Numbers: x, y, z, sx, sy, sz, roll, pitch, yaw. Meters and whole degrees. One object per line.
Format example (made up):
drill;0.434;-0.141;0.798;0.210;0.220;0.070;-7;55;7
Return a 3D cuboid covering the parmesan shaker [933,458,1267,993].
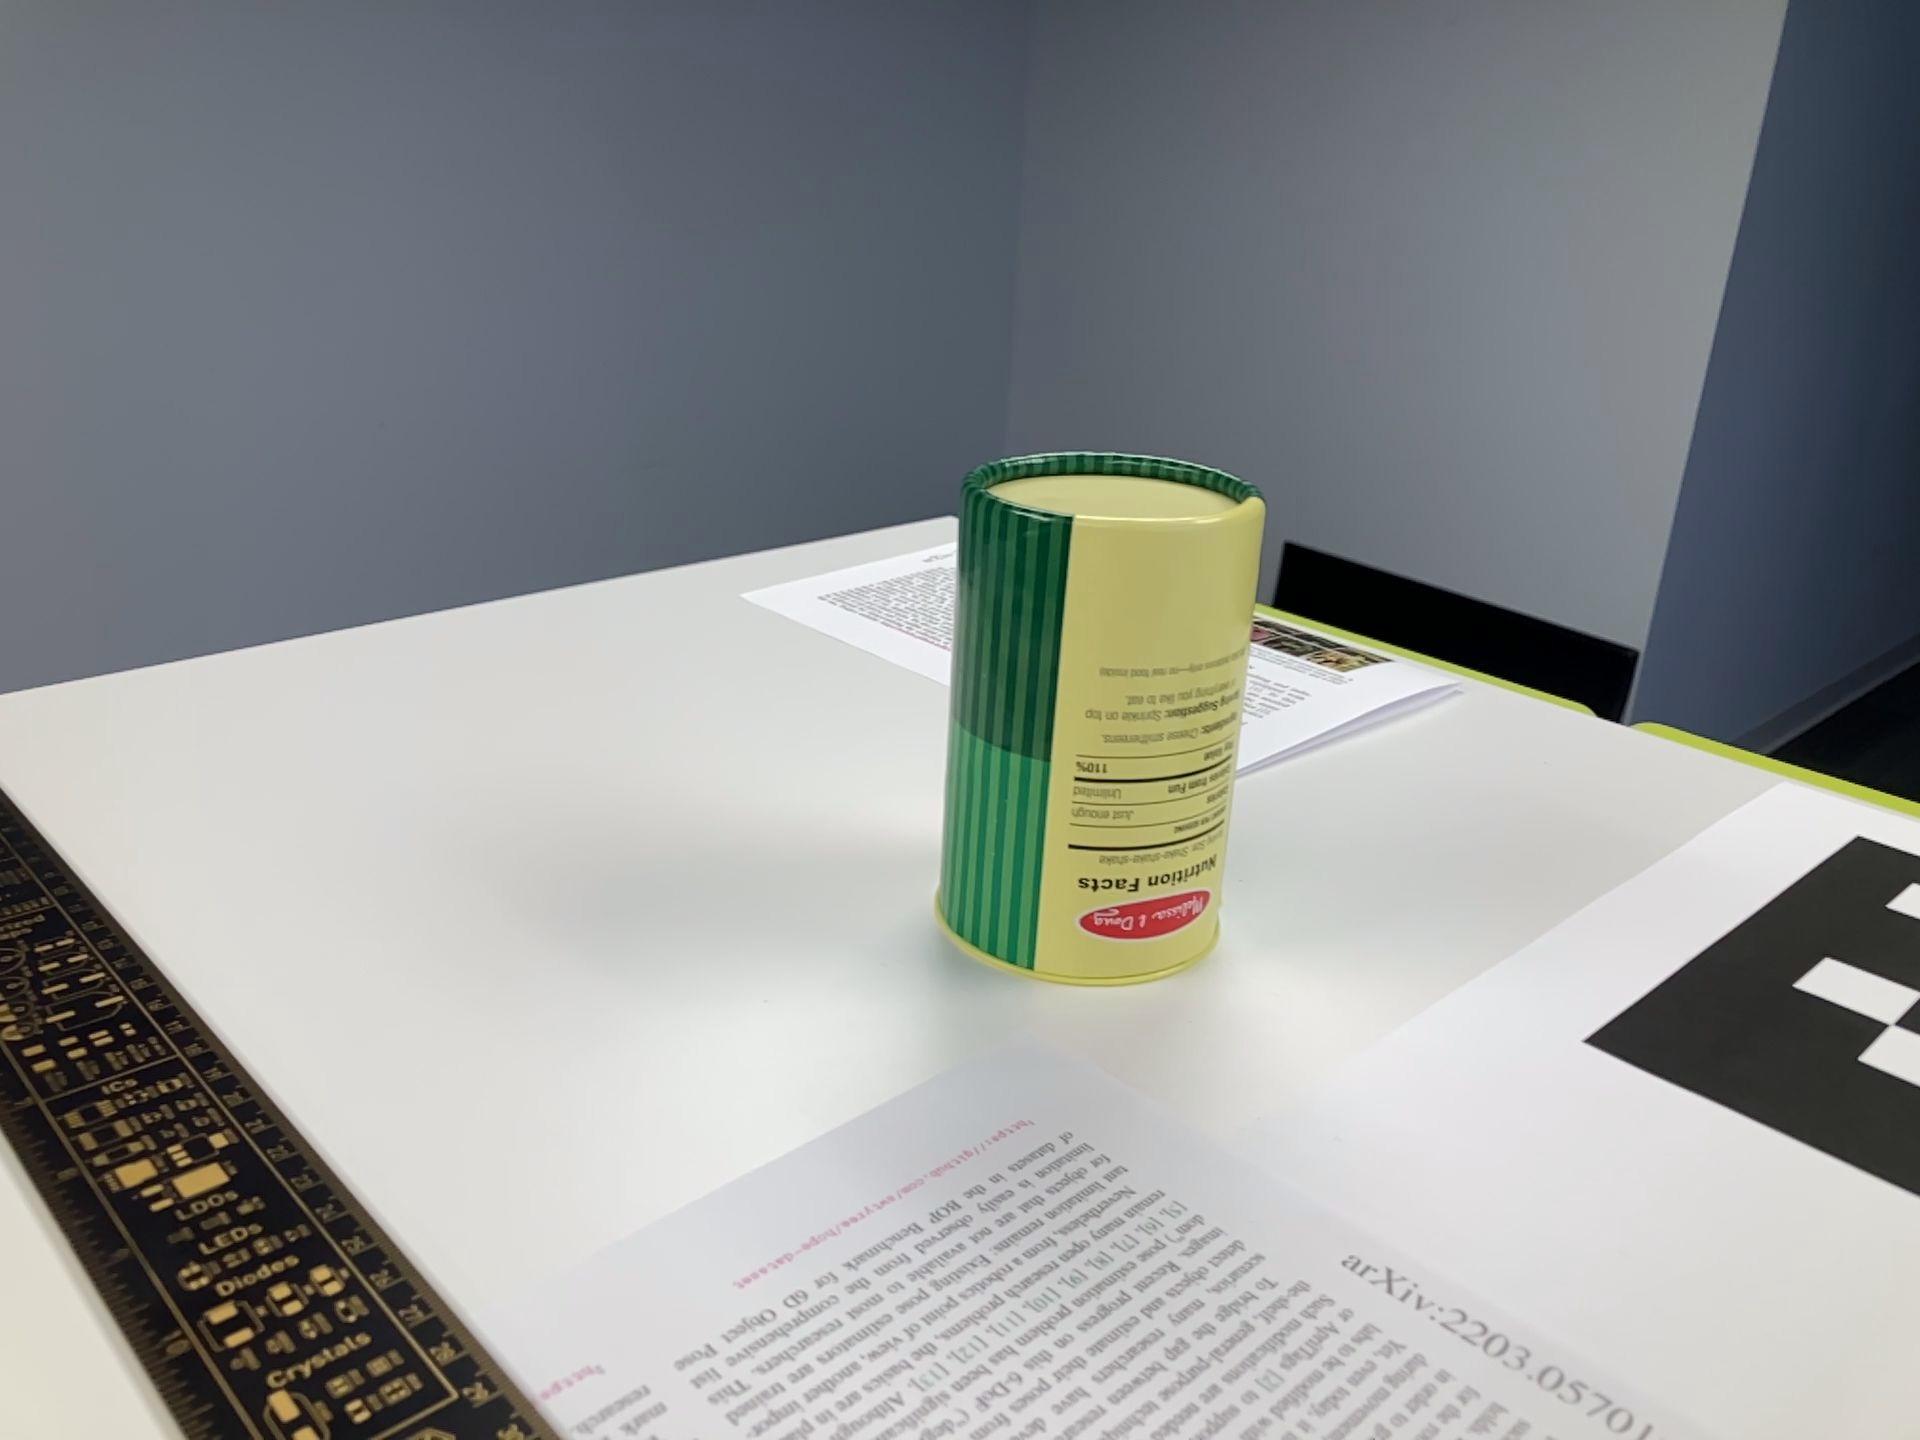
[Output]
parmesan shaker;0.032;-0.002;0.352;0.071;0.103;0.071;3;21;-1
